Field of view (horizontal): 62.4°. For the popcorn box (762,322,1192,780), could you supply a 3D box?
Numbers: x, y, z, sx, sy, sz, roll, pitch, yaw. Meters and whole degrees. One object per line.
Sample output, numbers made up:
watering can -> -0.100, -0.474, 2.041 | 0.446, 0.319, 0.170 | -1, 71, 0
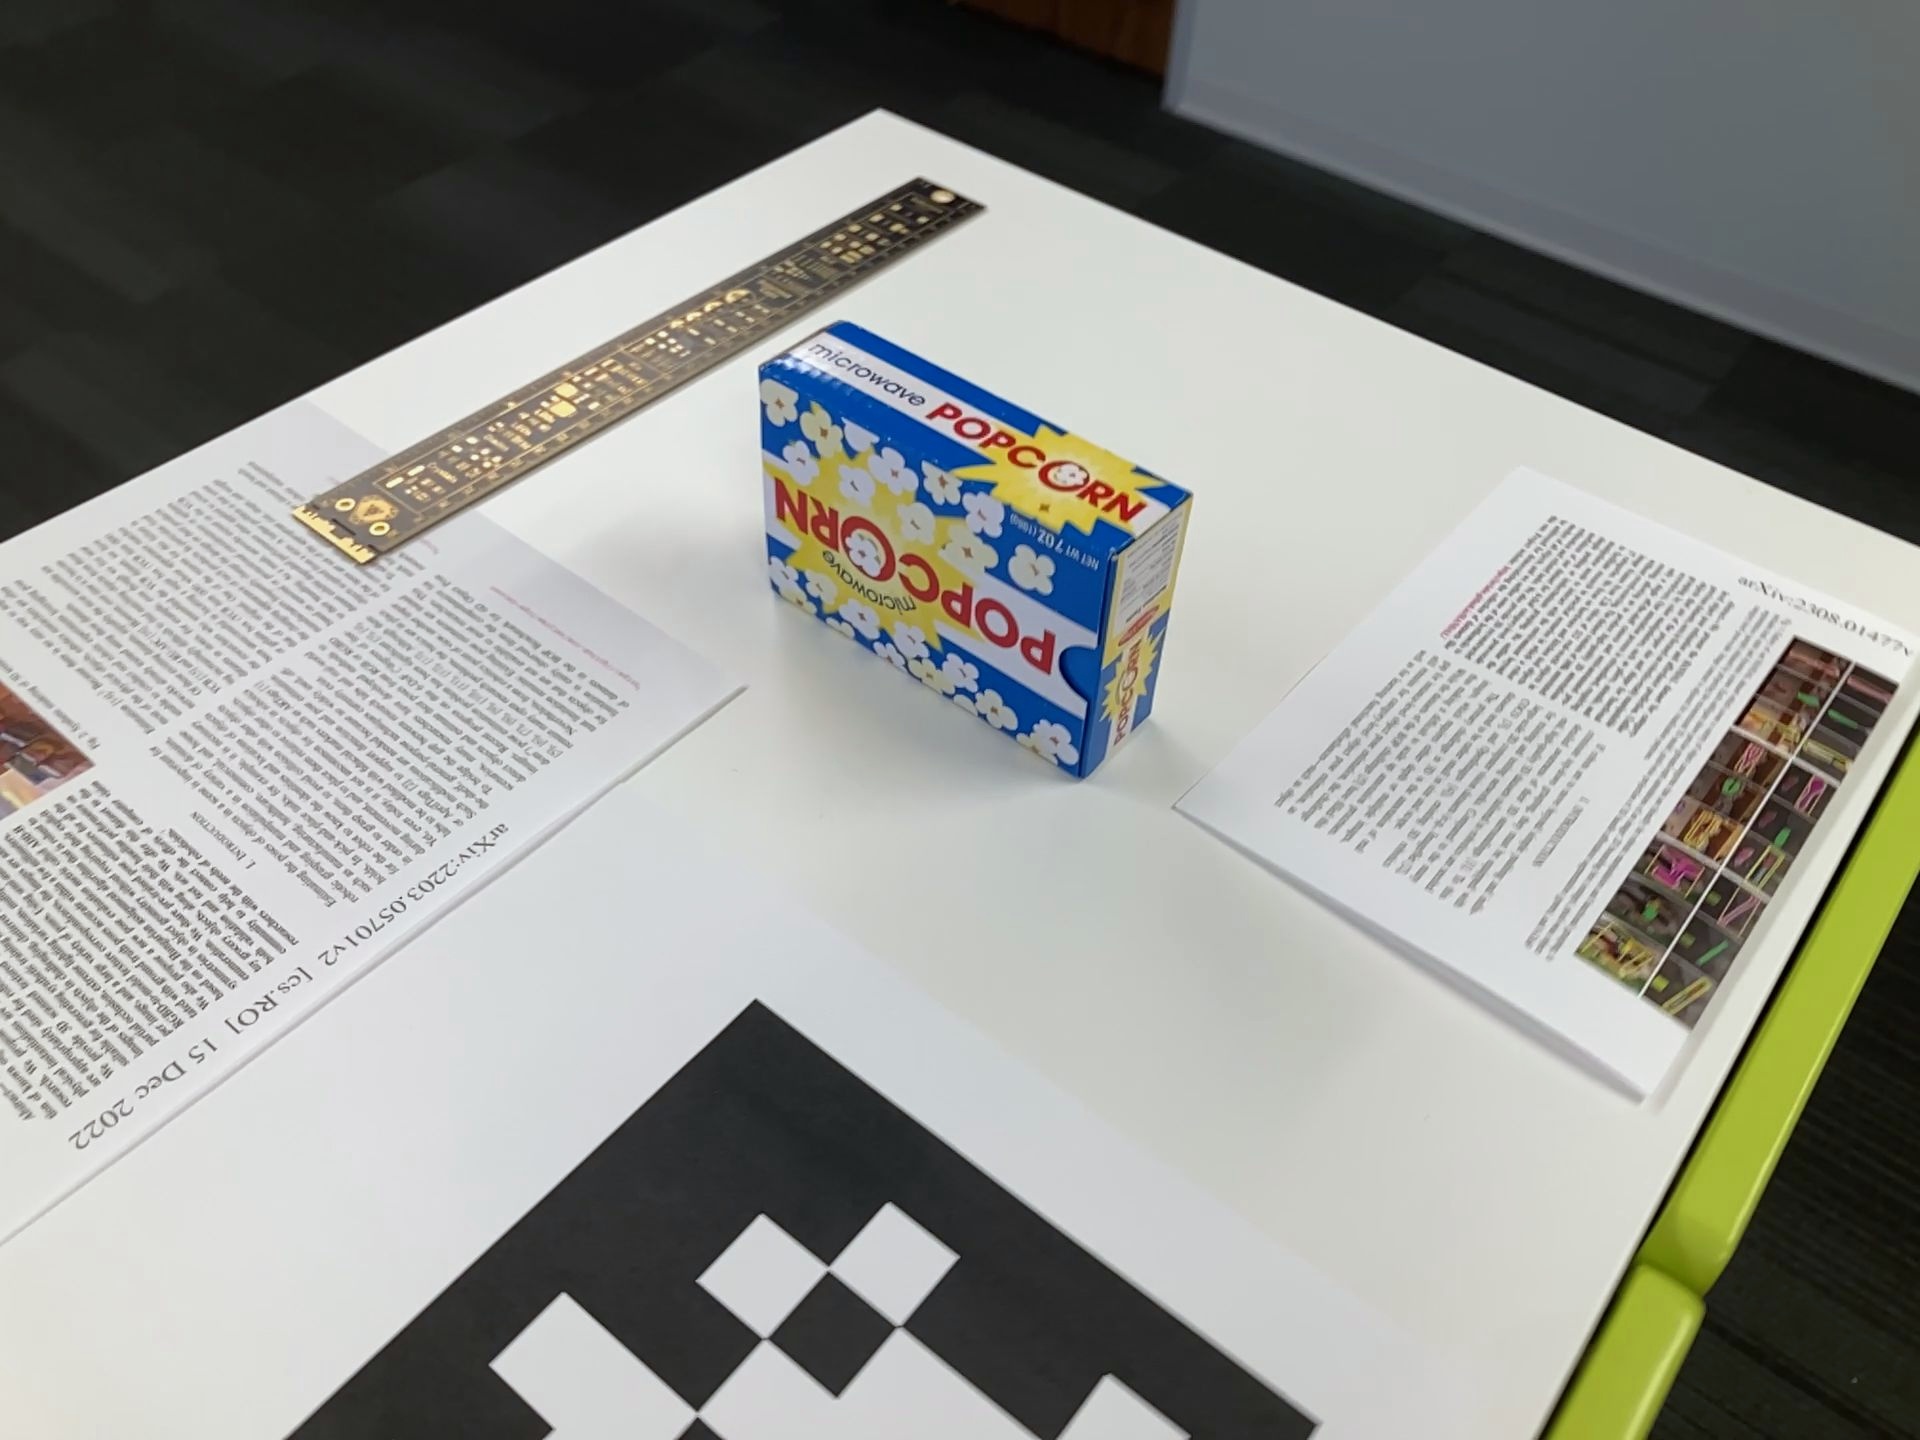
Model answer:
popcorn box -> 0.000, -0.051, 0.462 | 0.126, 0.085, 0.038 | 32, 51, 25
